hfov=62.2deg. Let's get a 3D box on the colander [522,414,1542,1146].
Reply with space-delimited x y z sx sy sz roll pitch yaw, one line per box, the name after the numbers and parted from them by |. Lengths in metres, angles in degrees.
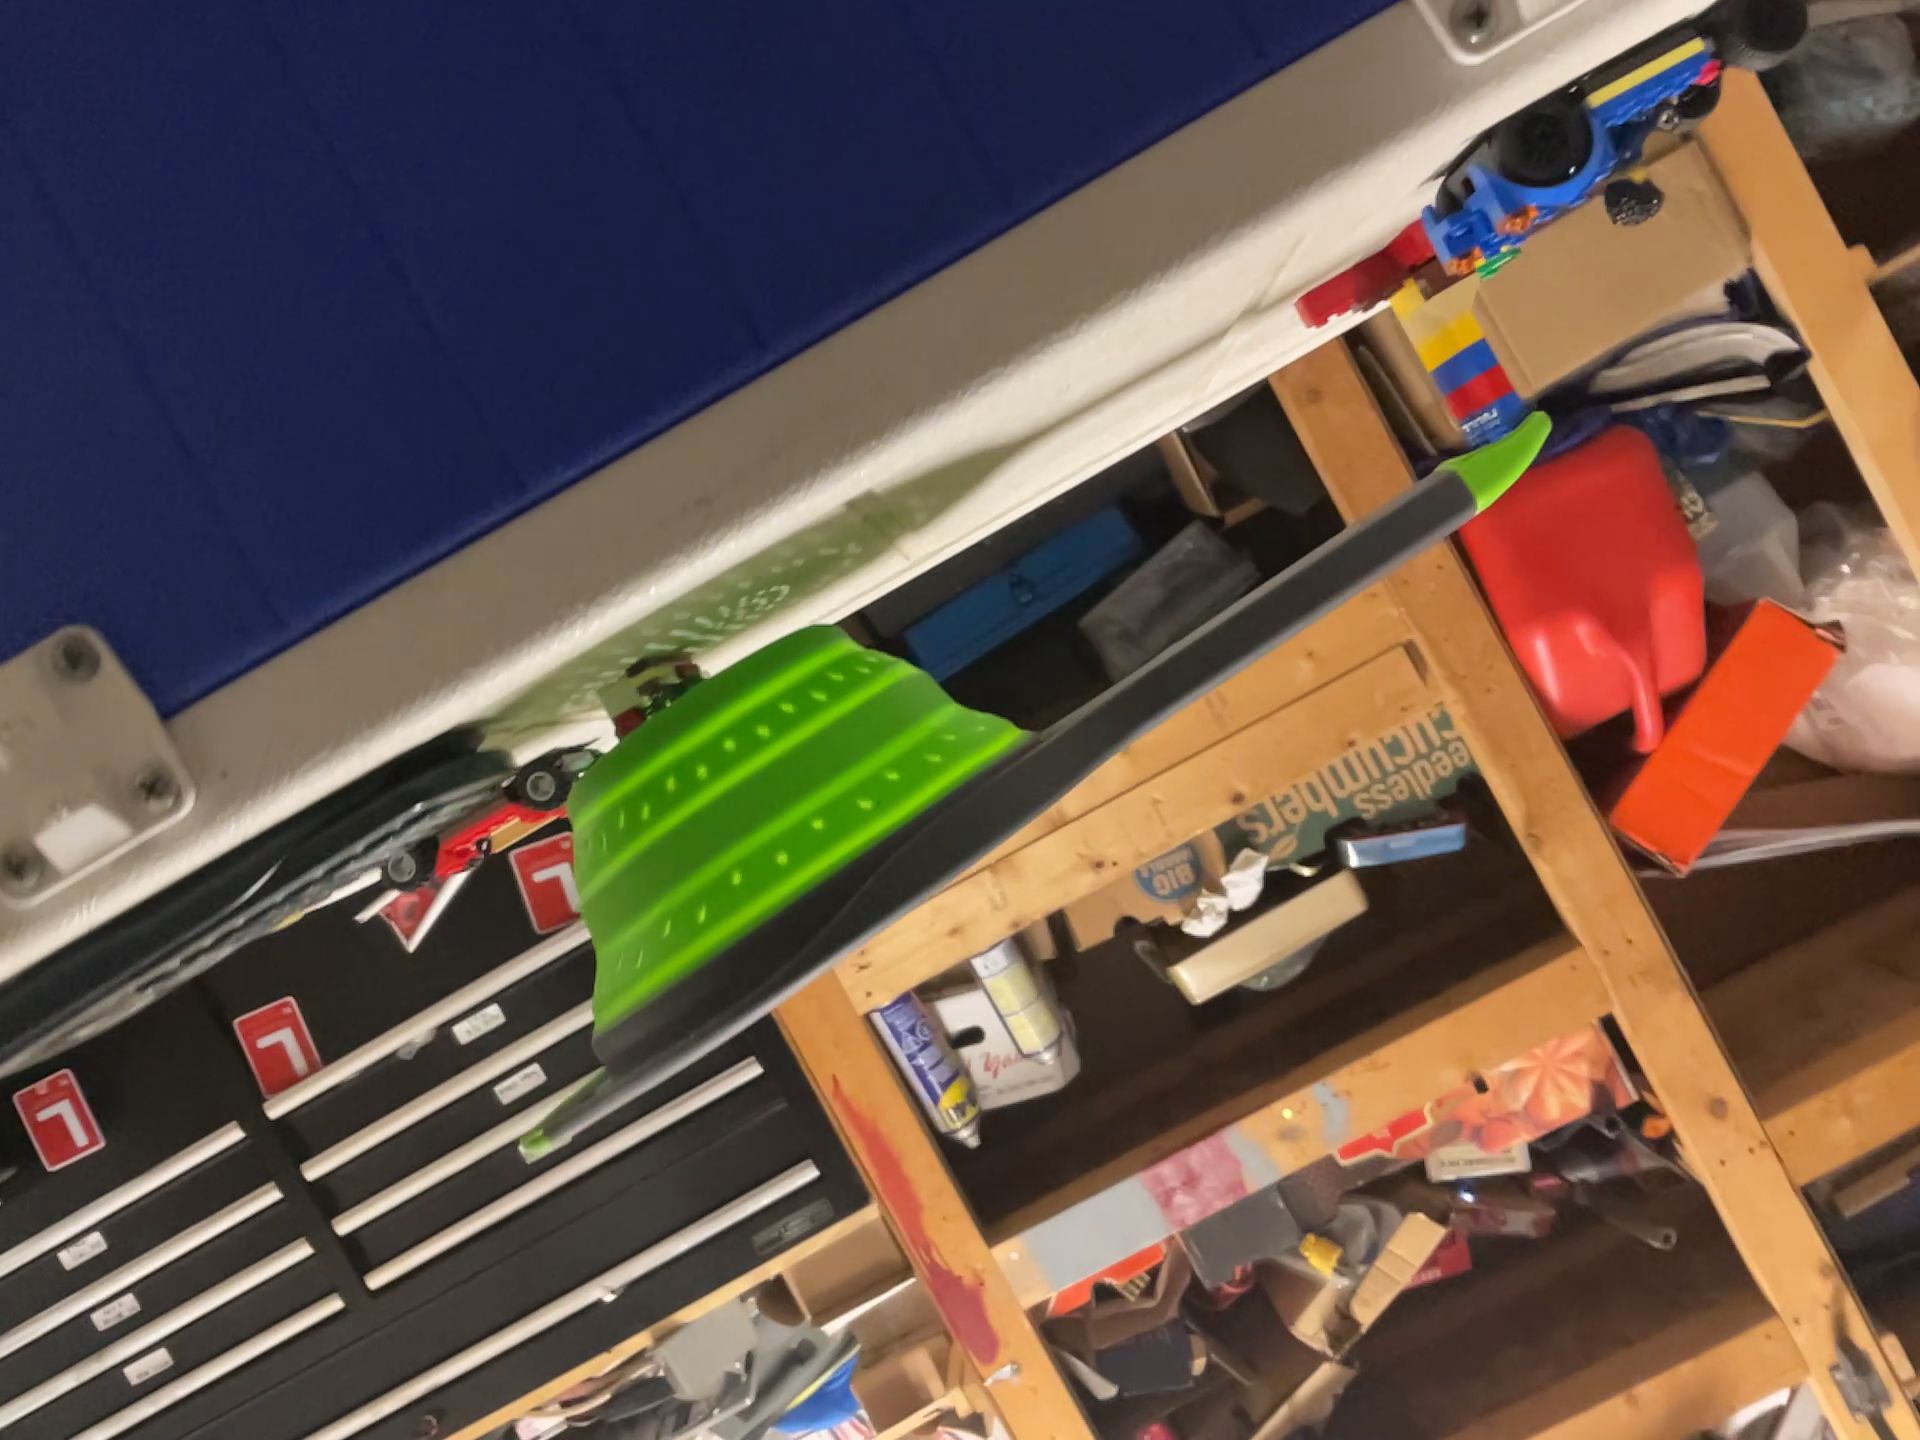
0.006 -0.013 0.534 0.397 0.094 0.204 -34 178 1 | colander
